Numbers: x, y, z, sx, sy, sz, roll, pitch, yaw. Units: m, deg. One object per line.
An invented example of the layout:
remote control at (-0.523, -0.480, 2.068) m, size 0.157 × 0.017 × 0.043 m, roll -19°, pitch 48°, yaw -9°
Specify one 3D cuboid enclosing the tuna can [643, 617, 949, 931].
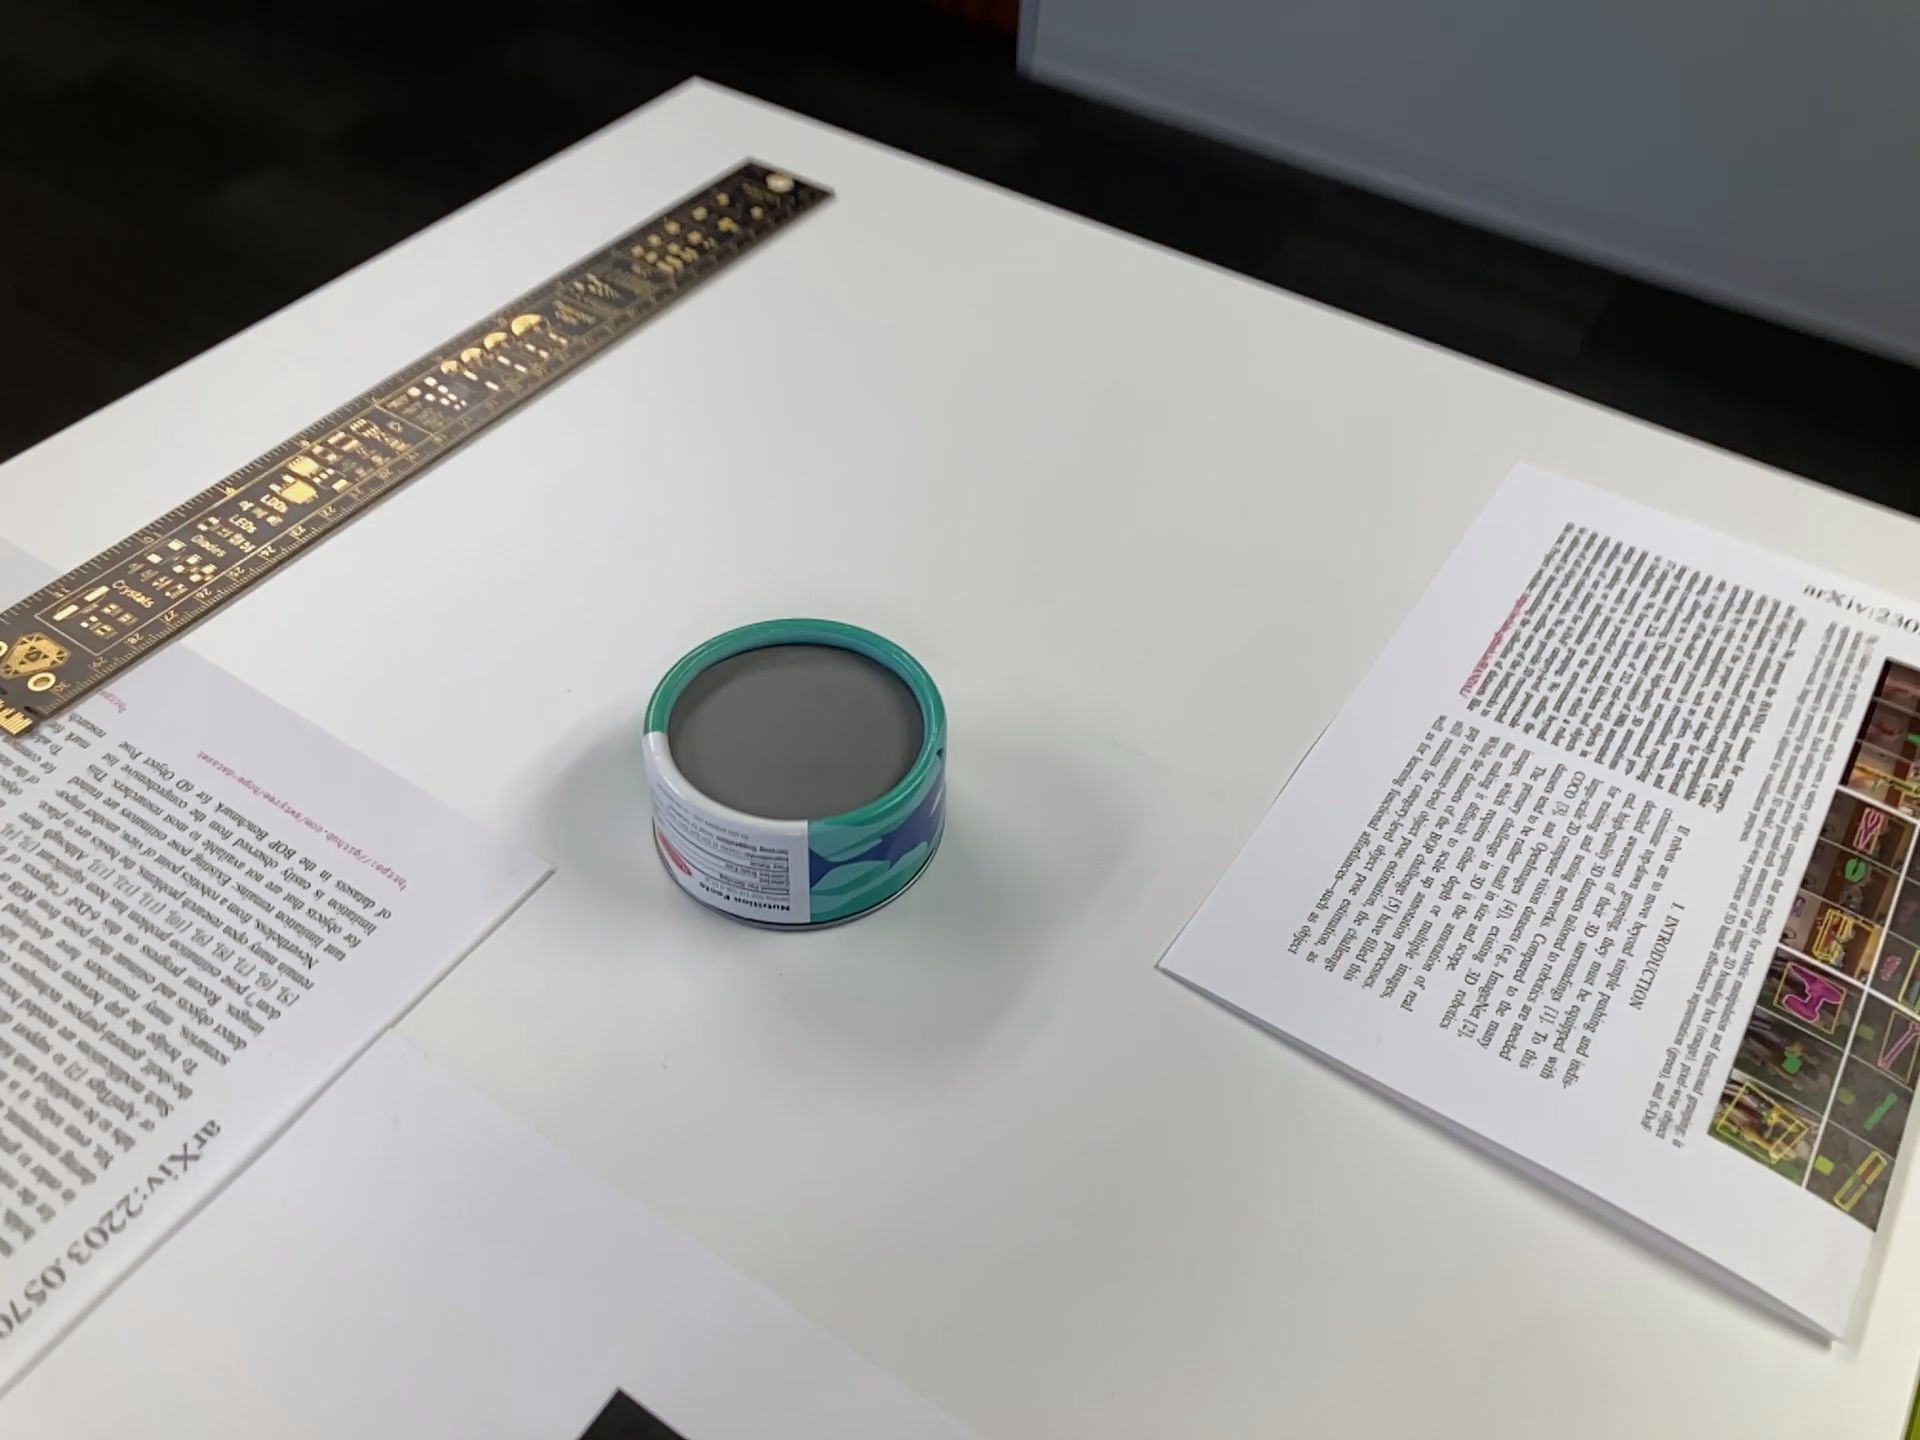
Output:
tuna can at (-0.034, 0.009, 0.351) m, size 0.071 × 0.033 × 0.071 m, roll 3°, pitch 47°, yaw -3°
